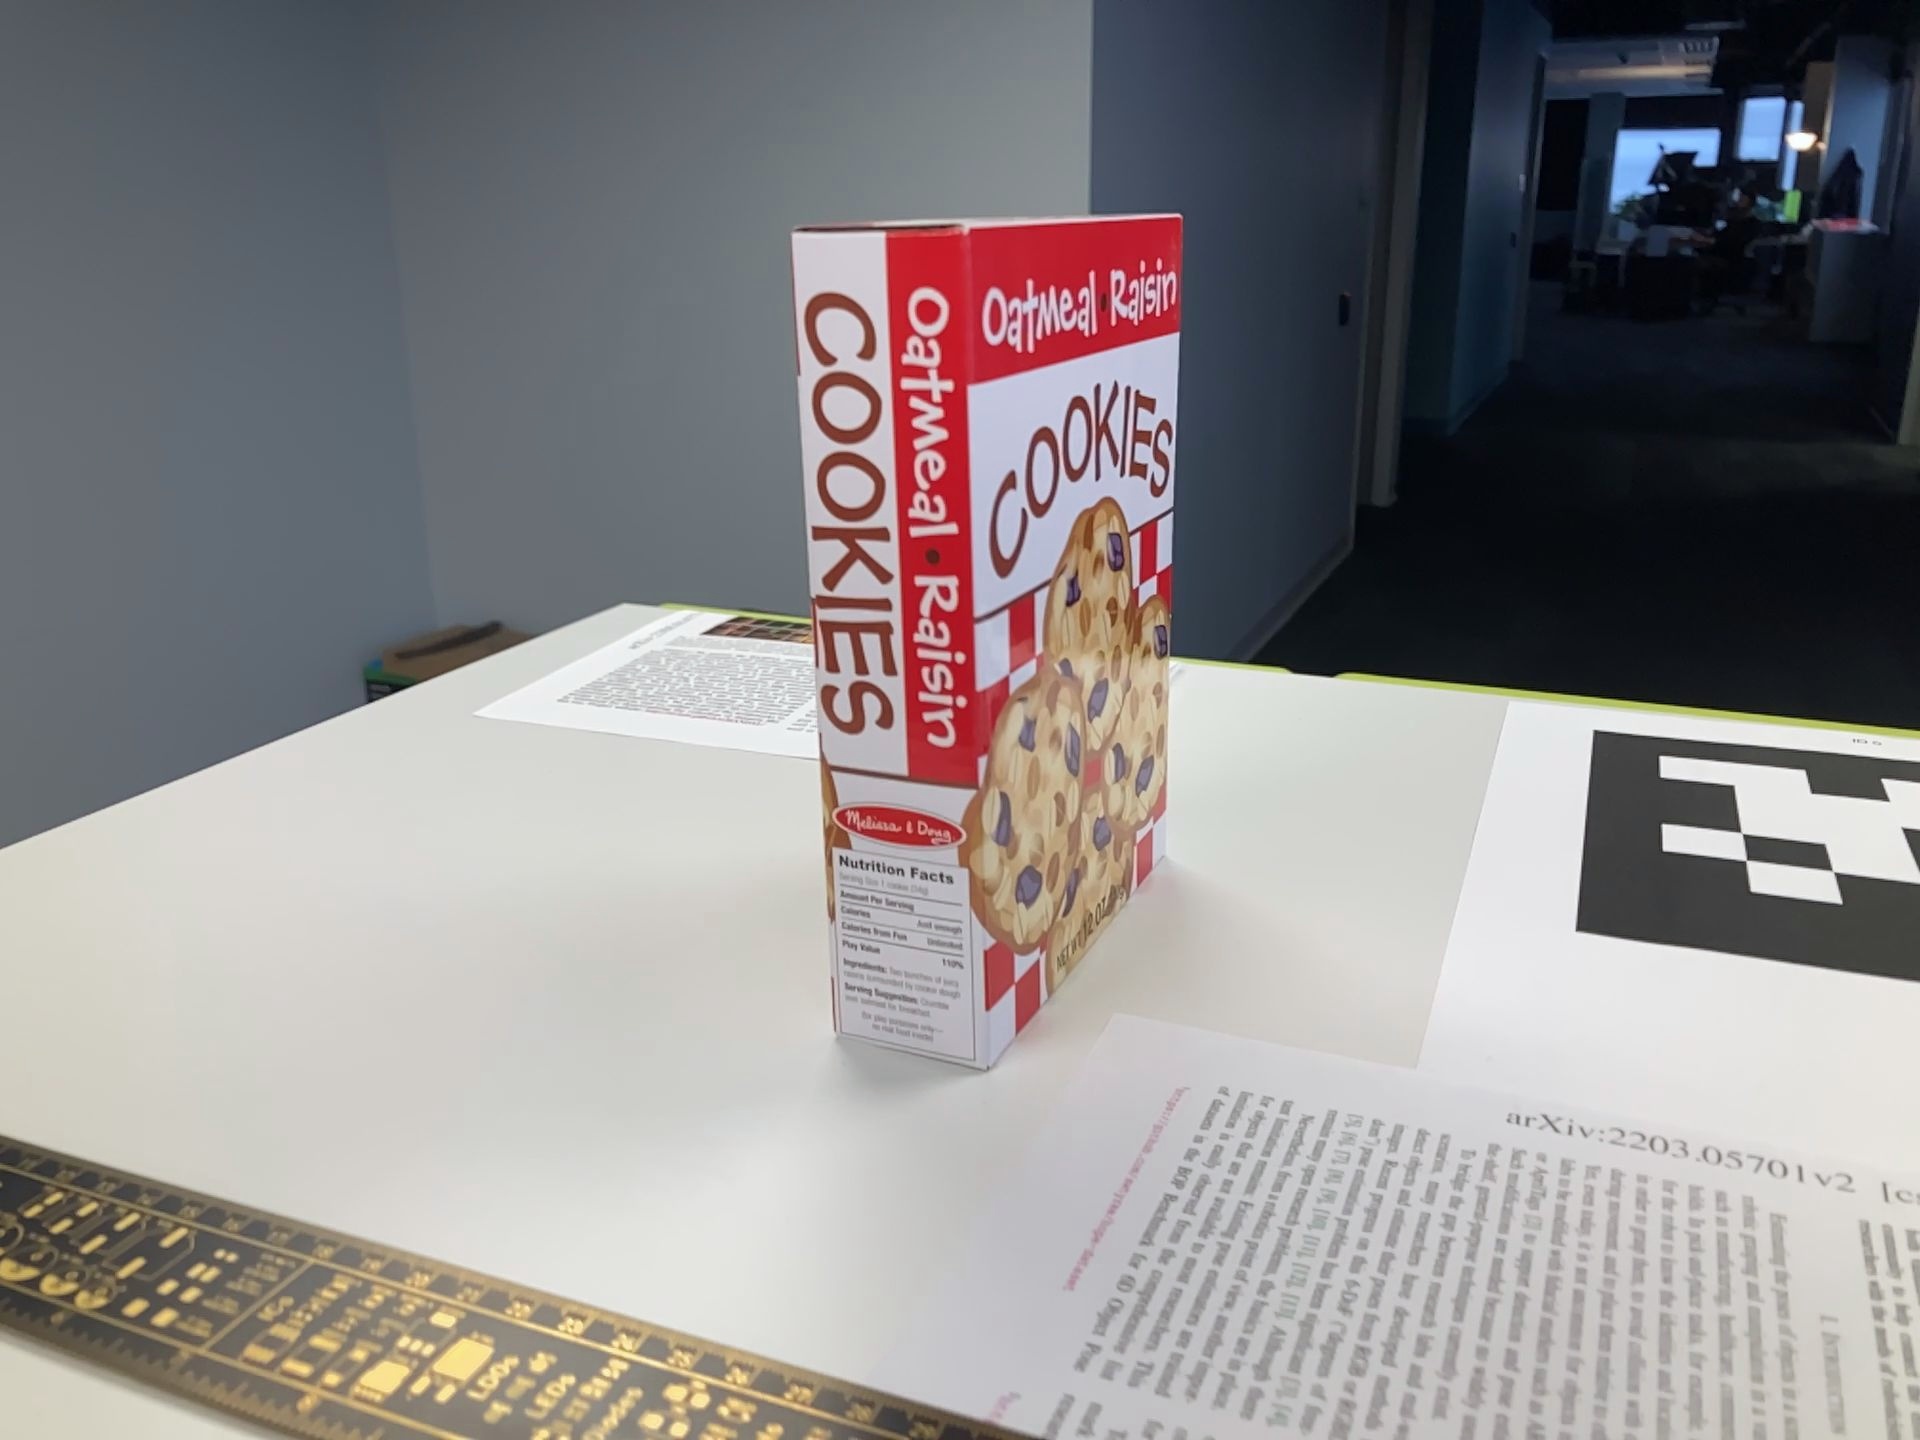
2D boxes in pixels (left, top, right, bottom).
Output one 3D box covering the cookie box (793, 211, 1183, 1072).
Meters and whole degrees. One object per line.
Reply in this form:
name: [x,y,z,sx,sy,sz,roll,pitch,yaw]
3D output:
cookie box: [0.011,-0.027,0.357,0.040,0.167,0.123,7,19,24]
